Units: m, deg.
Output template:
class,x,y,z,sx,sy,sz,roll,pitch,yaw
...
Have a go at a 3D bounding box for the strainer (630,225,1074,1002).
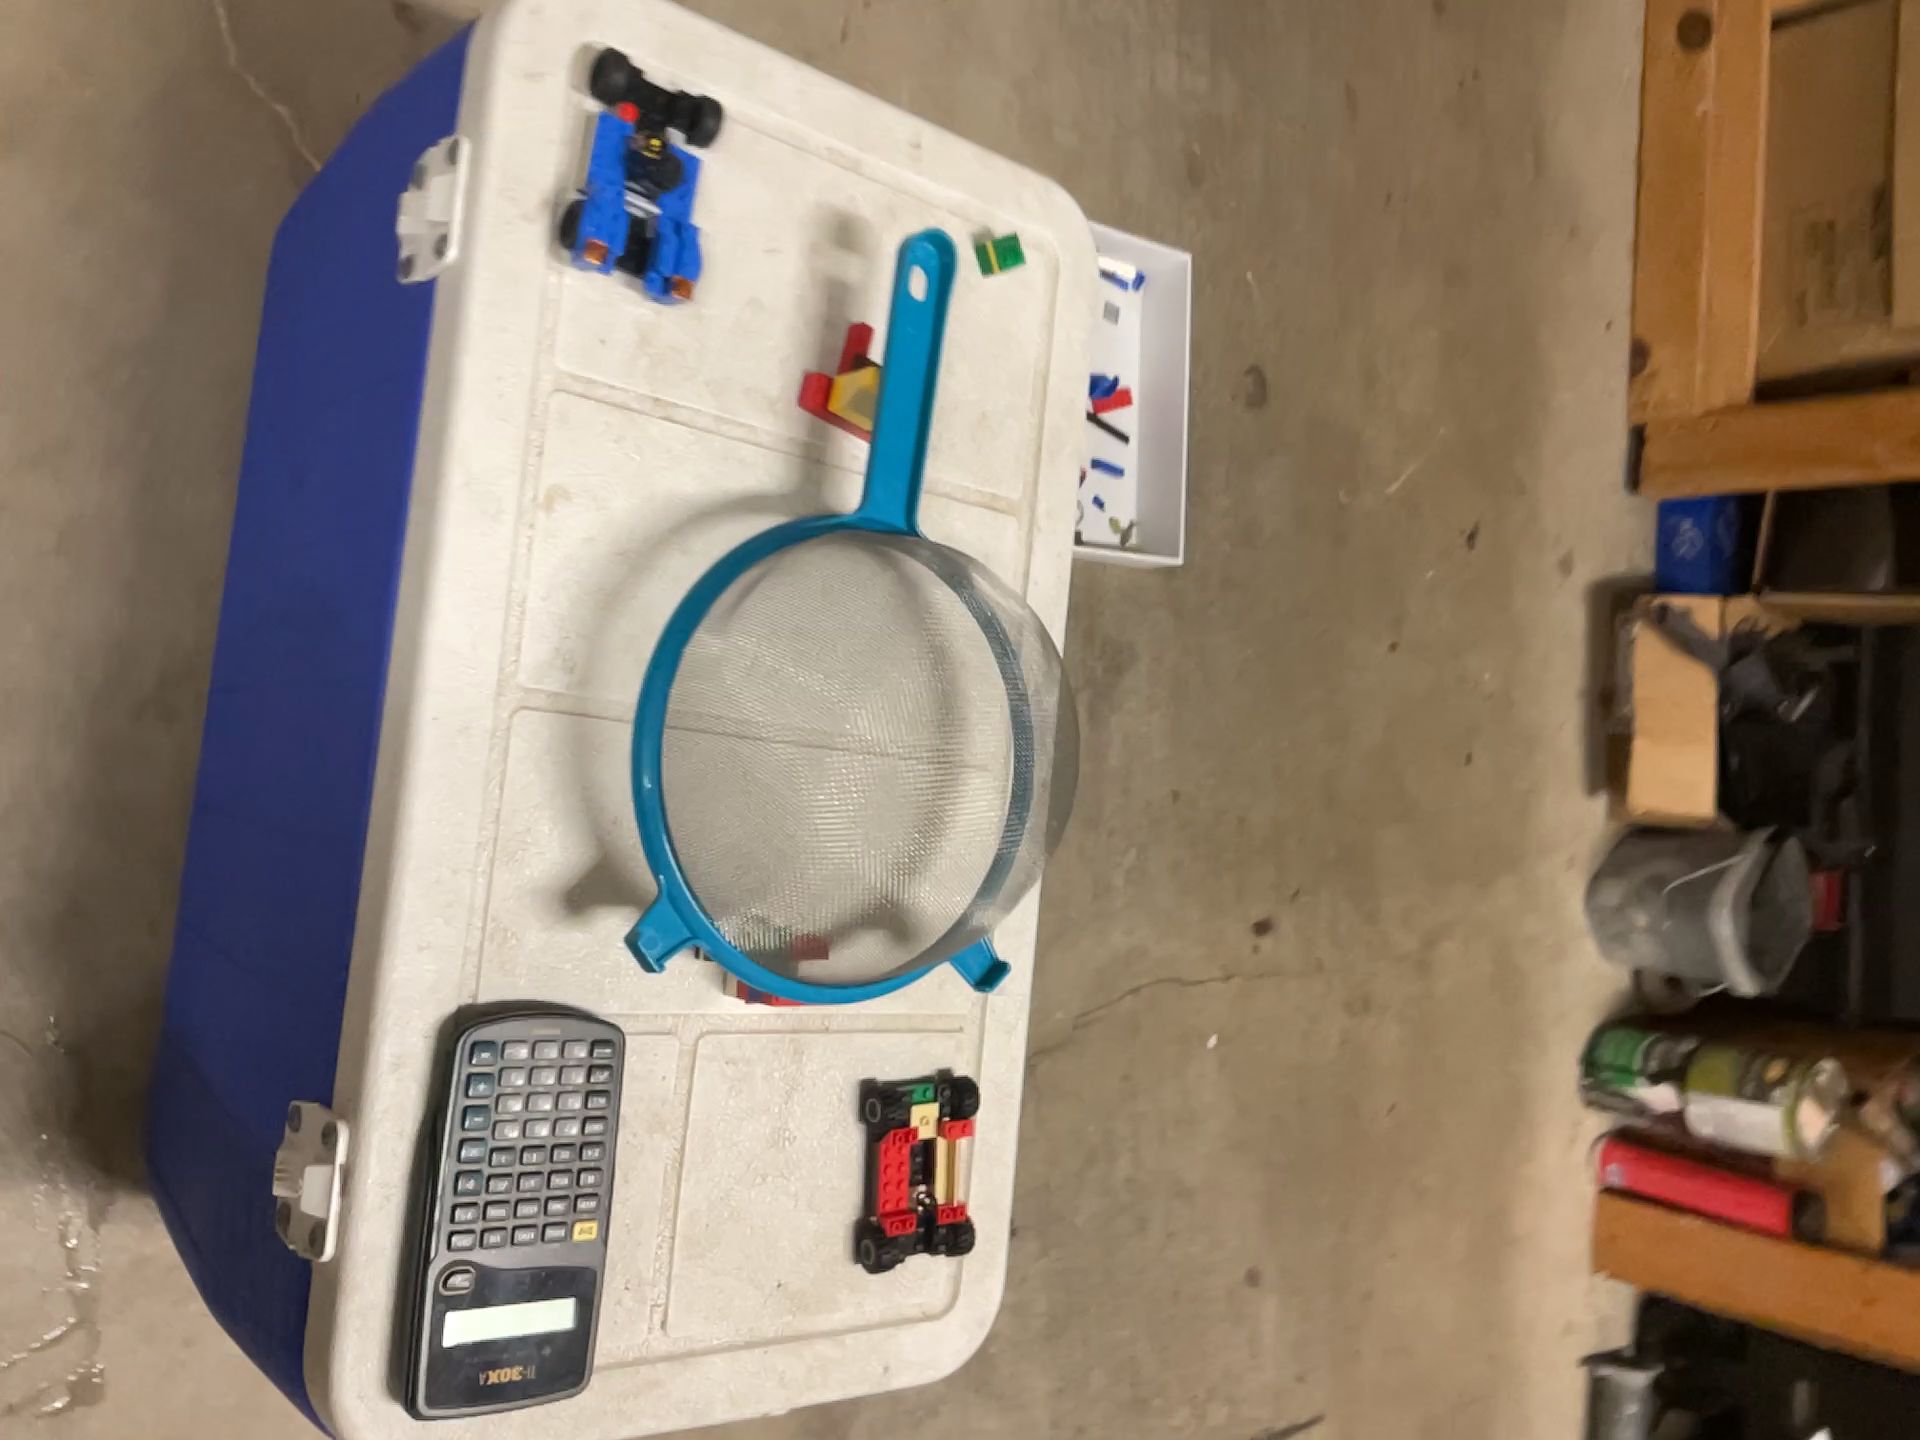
class,x,y,z,sx,sy,sz,roll,pitch,yaw
strainer,-0.012,-0.048,0.664,0.211,0.095,0.340,12,84,-40
